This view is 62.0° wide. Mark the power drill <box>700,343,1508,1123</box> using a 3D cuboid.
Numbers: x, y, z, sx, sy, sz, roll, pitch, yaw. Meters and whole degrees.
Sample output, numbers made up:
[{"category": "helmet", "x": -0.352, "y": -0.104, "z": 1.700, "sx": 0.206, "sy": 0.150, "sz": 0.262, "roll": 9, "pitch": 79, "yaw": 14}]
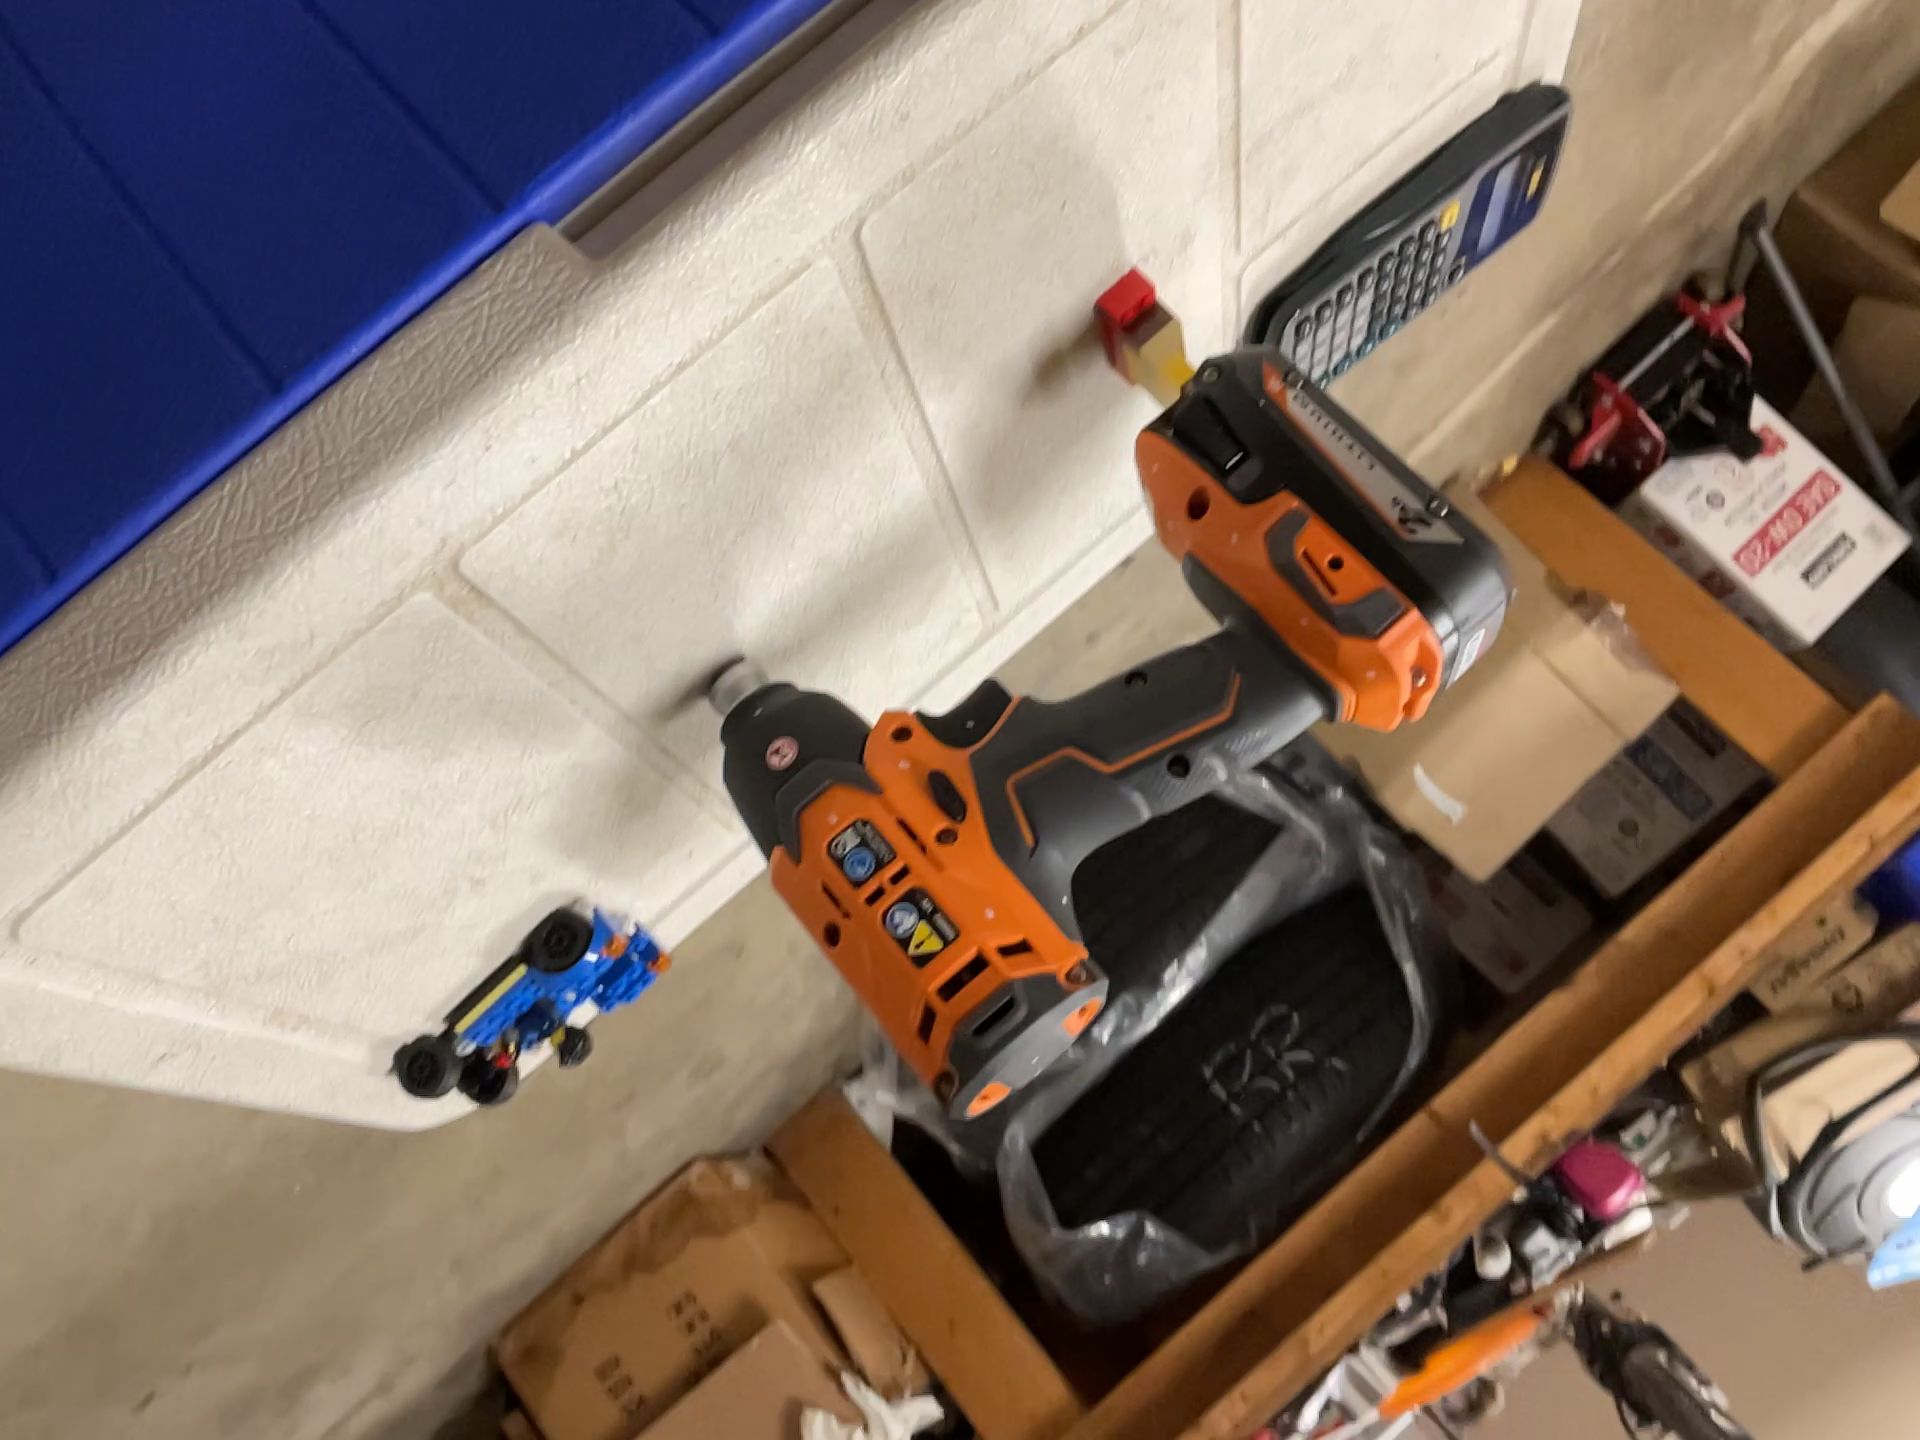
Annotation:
[{"category": "power drill", "x": 0.034, "y": -0.010, "z": 0.499, "sx": 0.226, "sy": 0.164, "sz": 0.084, "roll": -41, "pitch": 161, "yaw": -3}]
